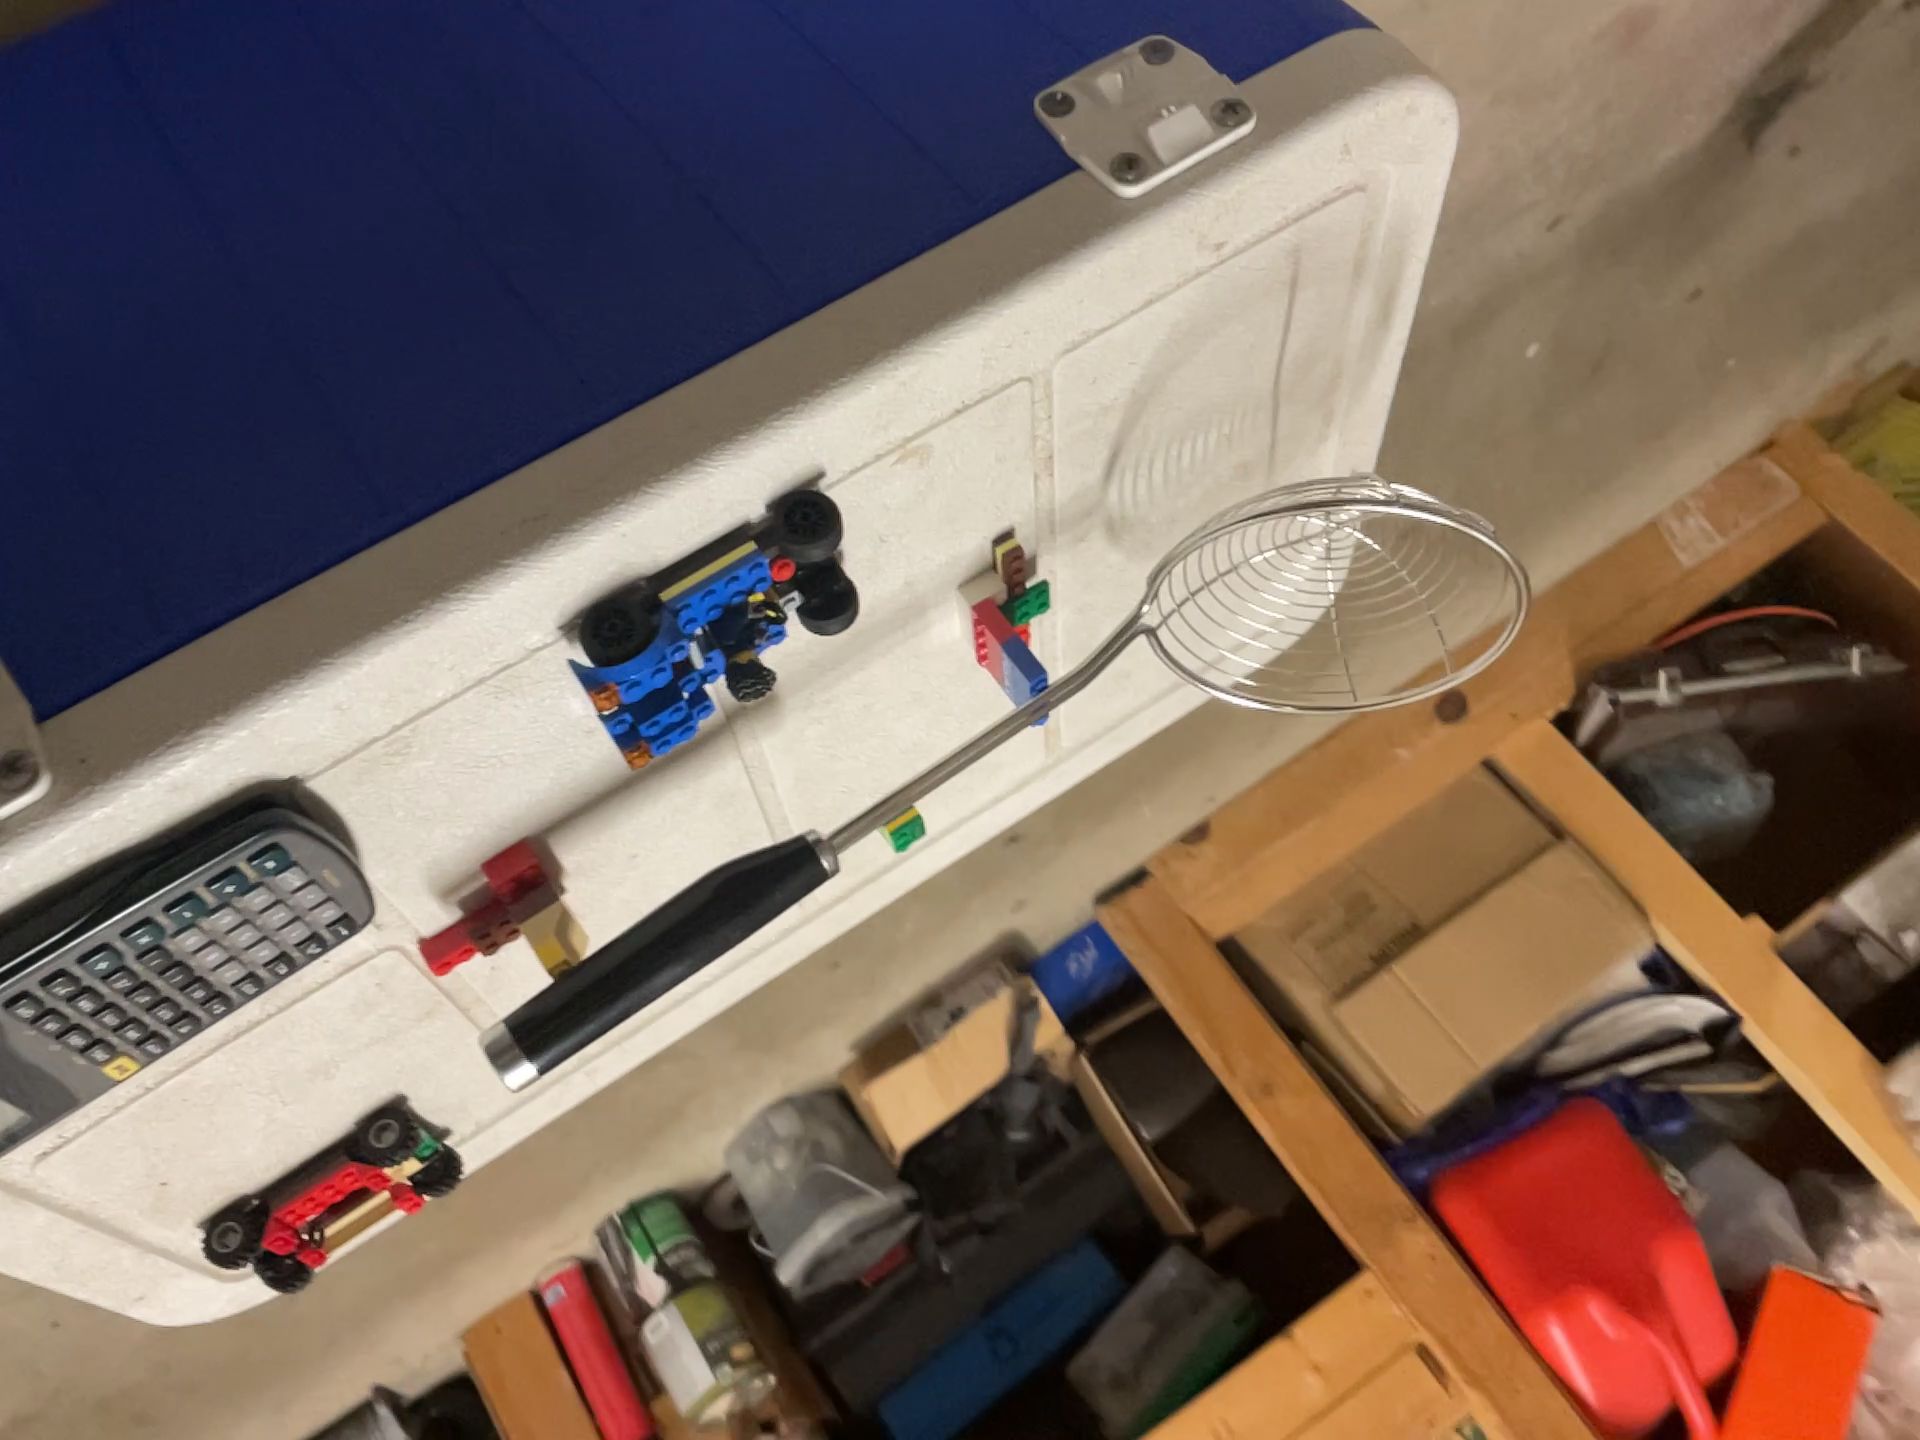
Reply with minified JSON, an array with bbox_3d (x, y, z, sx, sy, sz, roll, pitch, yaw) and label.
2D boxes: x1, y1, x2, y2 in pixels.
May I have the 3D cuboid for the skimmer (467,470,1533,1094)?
[{"bbox_3d":[0.019,0.031,0.516,0.363,0.090,0.127,-33,151,-13],"label":"skimmer"}]
